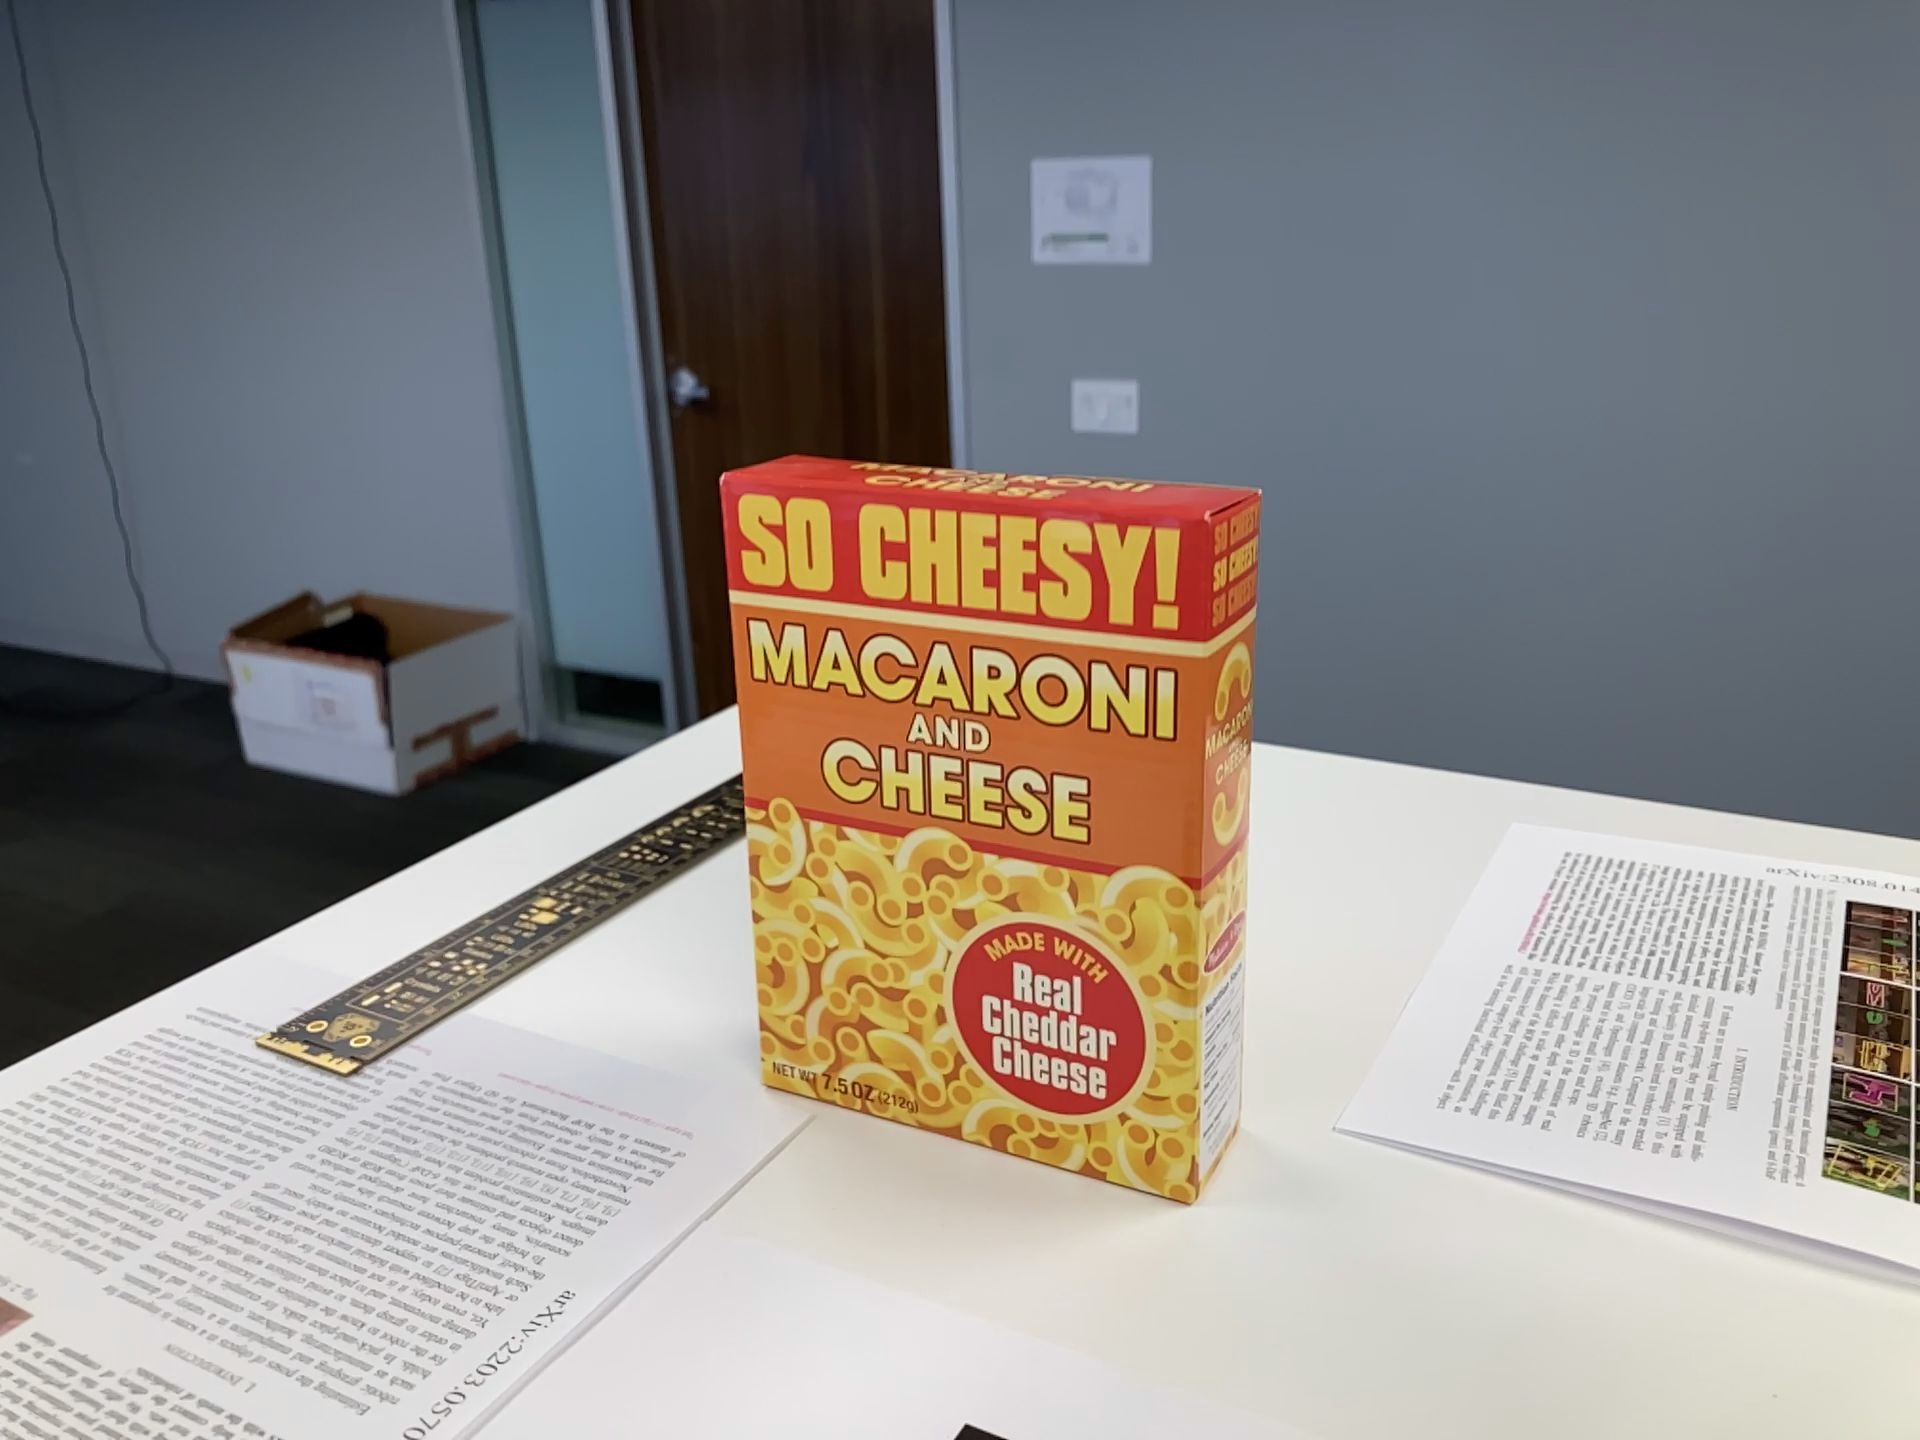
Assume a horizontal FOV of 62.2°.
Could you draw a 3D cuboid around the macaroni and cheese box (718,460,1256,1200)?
[{"bbox_3d":[0.006,0.023,0.393,0.124,0.166,0.040,7,21,25],"label":"macaroni and cheese box"}]
